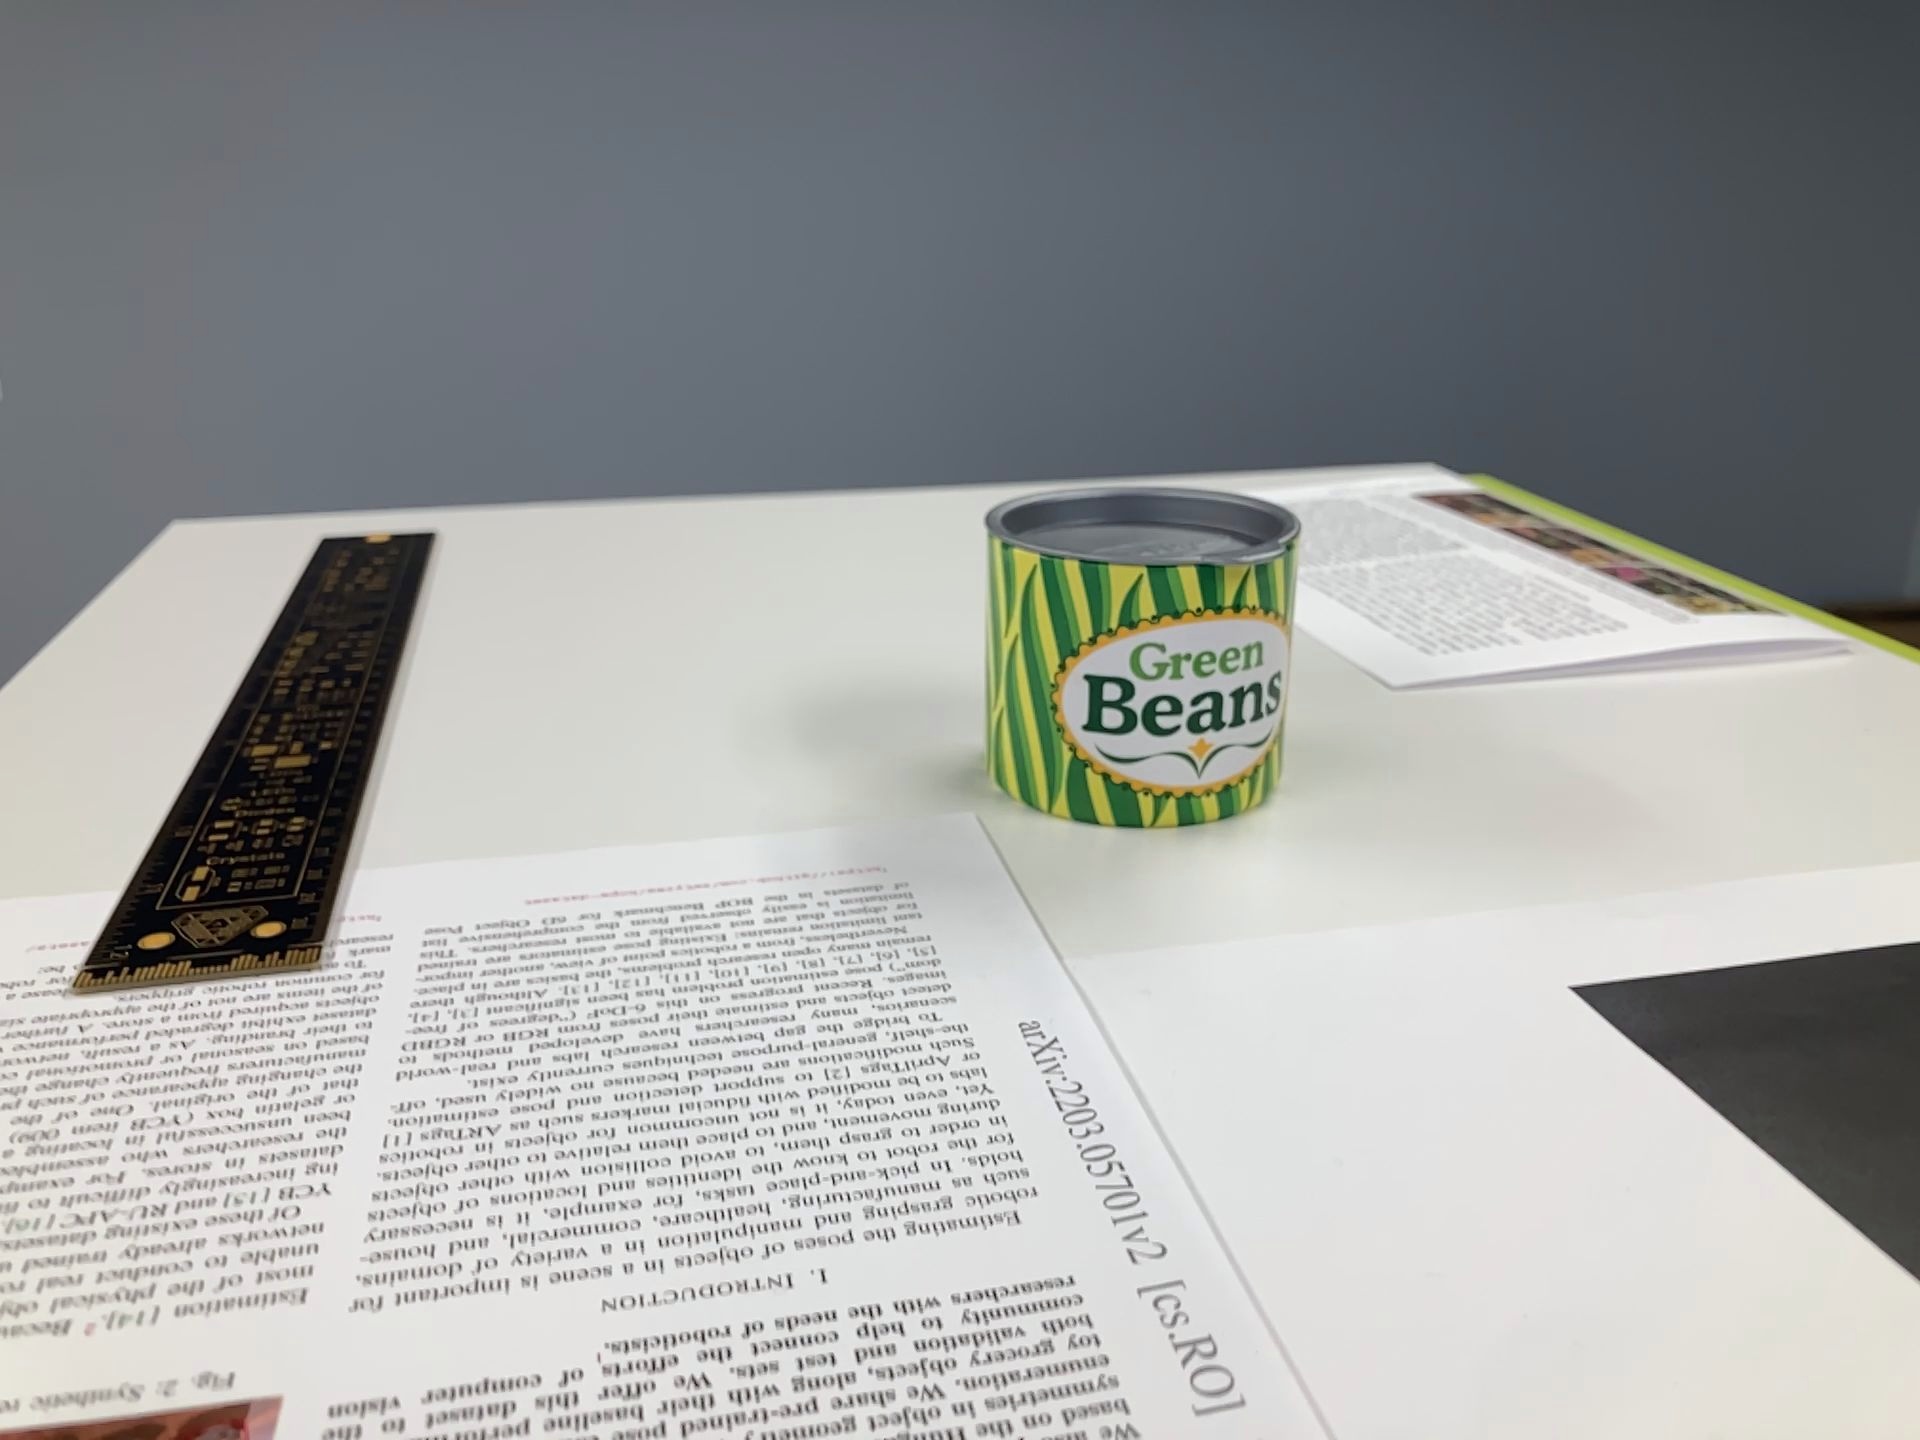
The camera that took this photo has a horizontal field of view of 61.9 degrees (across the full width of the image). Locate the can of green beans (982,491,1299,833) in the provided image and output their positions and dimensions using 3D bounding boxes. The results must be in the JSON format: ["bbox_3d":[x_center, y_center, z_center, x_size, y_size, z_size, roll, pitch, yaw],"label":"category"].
[{"bbox_3d":[0.038,-0.015,0.346,0.071,0.058,0.071,-1,20,0],"label":"can of green beans"}]
